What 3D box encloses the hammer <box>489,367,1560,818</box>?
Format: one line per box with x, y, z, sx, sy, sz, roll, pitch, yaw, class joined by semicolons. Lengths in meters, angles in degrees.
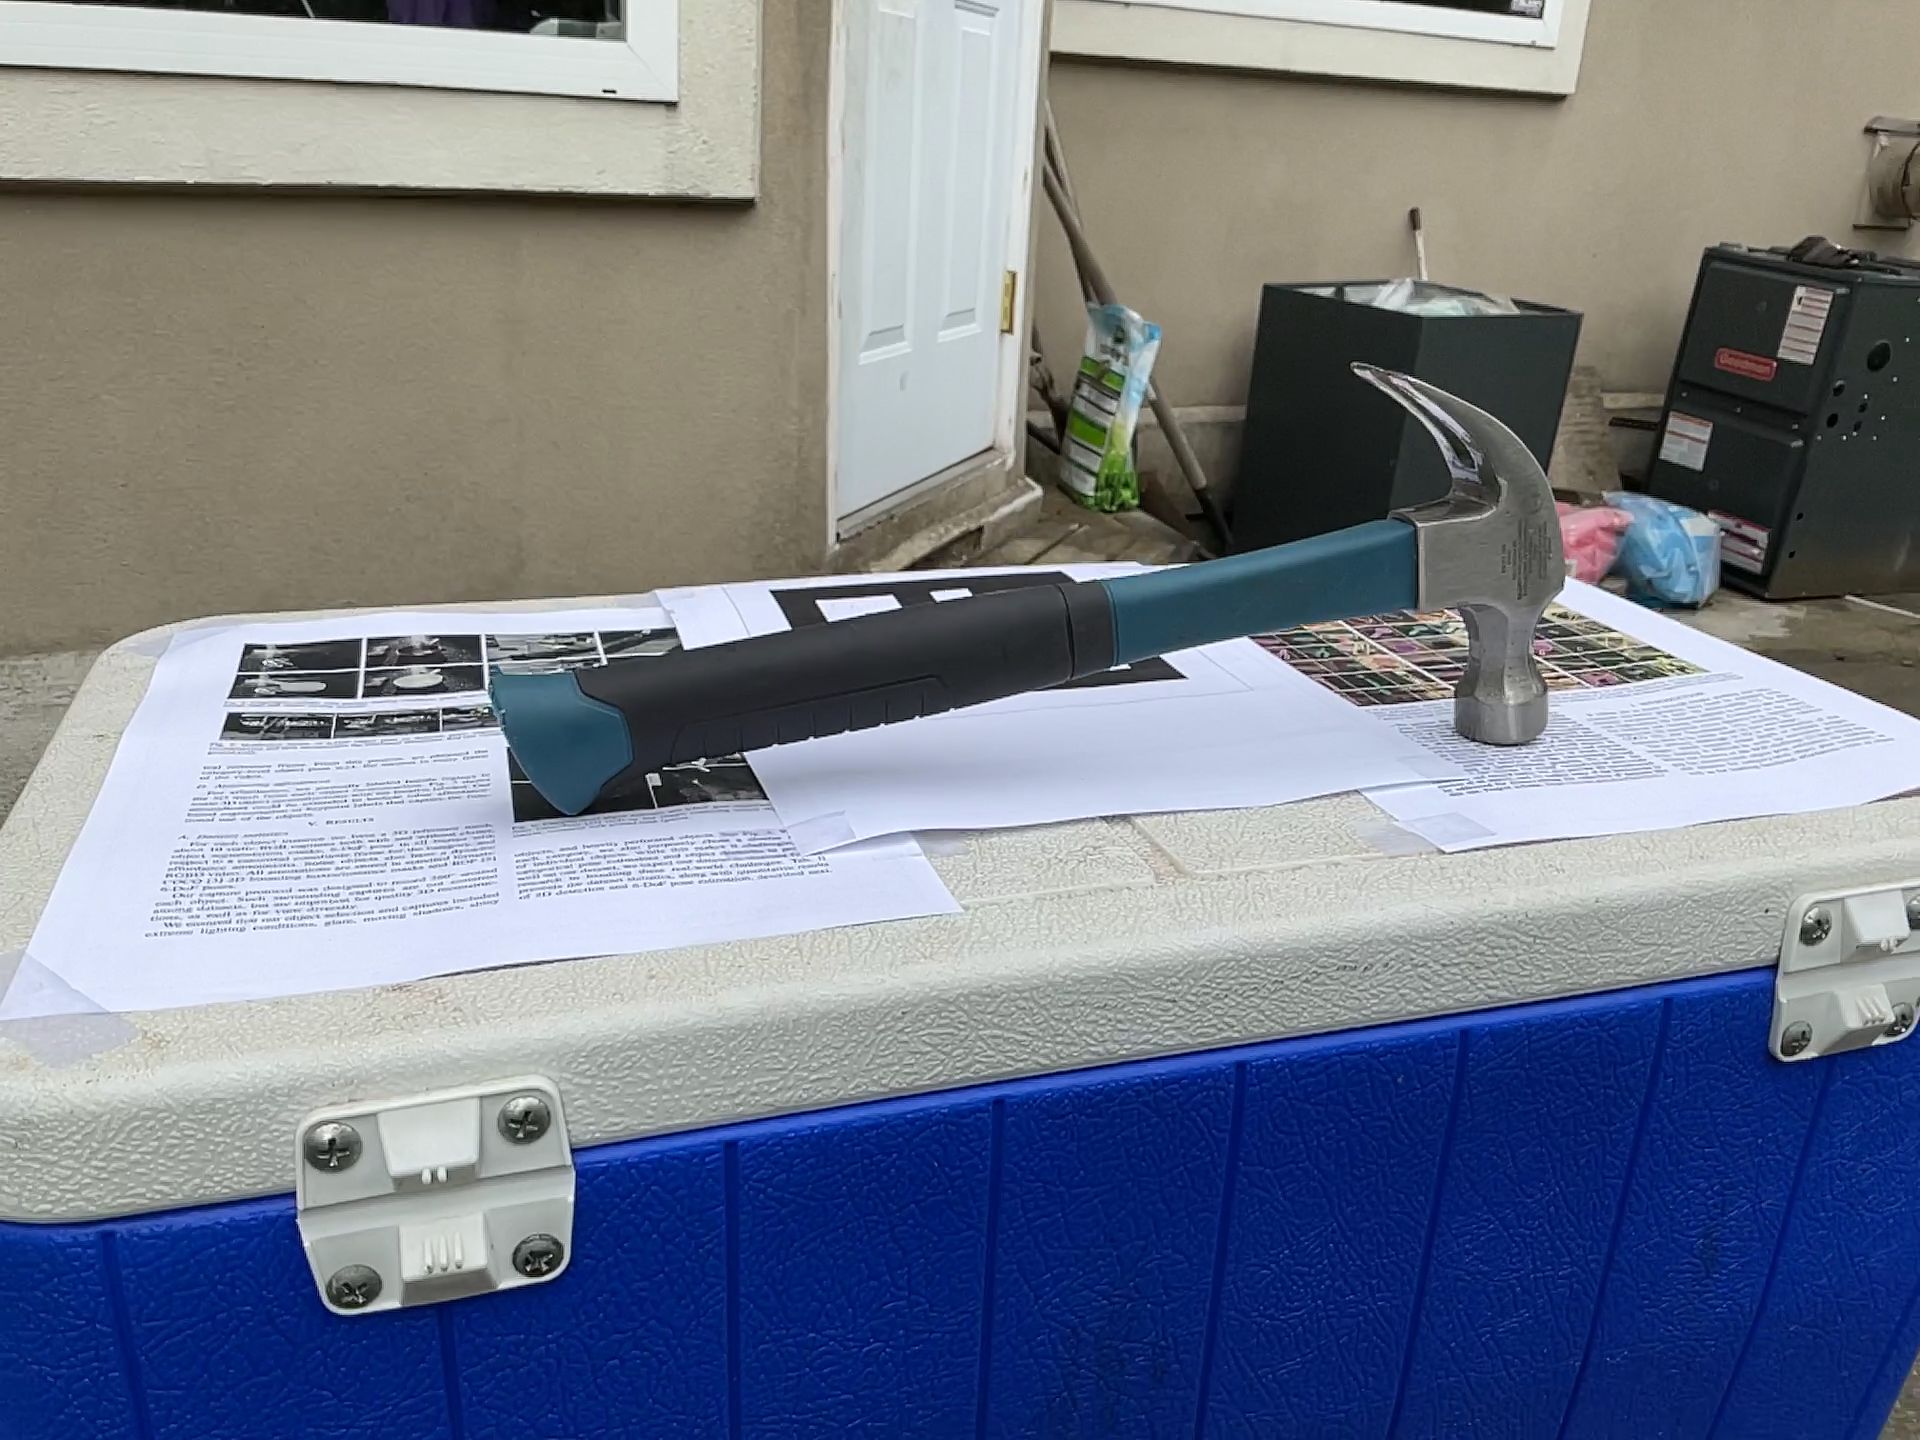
0.031;-0.024;0.480;0.331;0.128;0.033;-12;21;-13;hammer
